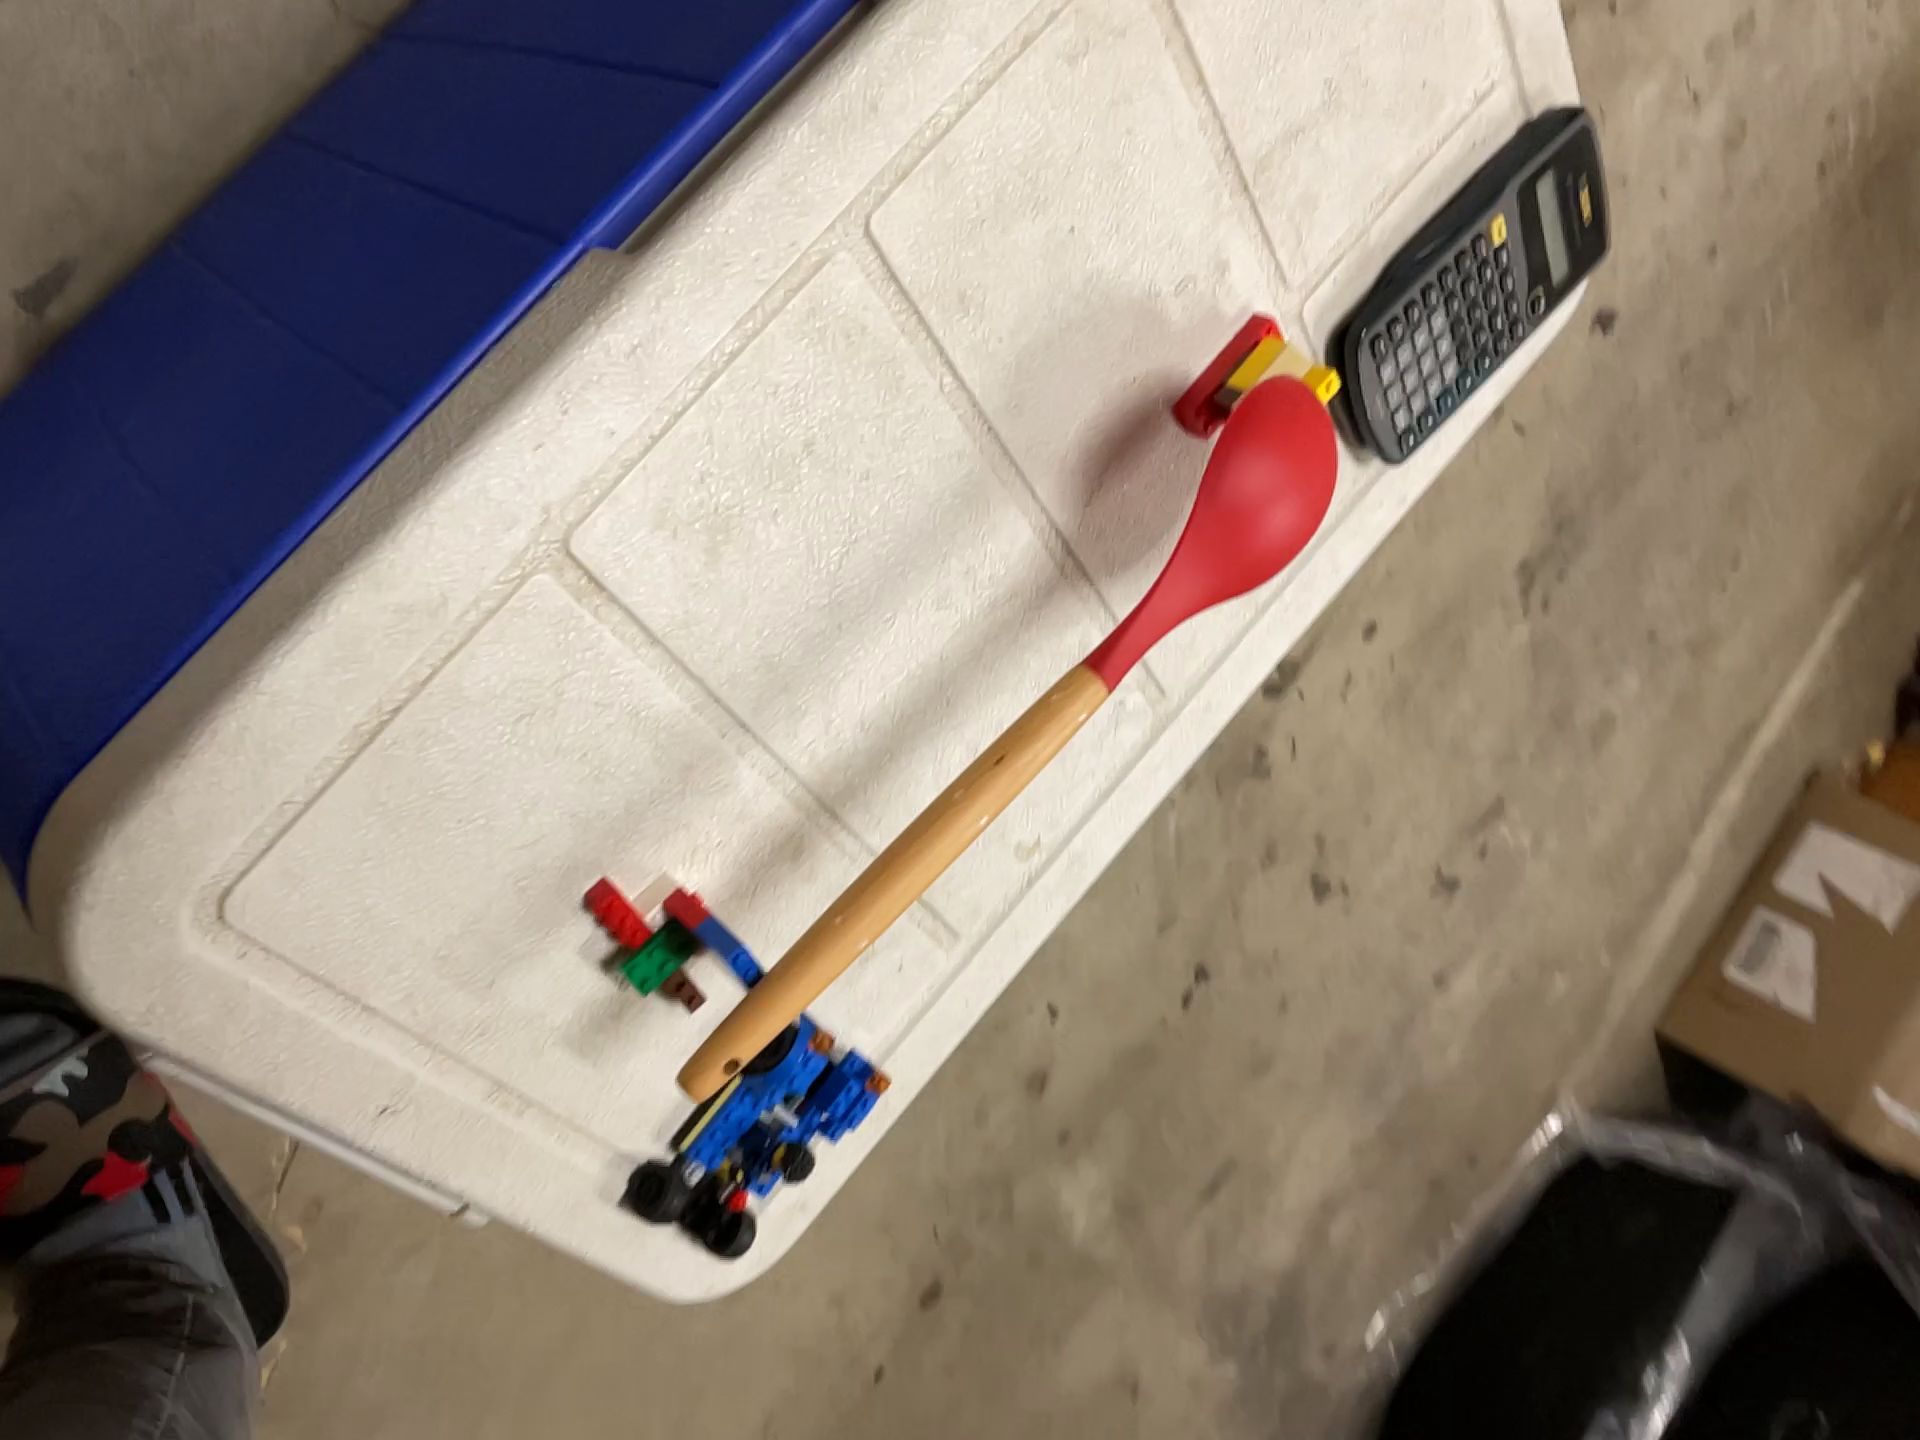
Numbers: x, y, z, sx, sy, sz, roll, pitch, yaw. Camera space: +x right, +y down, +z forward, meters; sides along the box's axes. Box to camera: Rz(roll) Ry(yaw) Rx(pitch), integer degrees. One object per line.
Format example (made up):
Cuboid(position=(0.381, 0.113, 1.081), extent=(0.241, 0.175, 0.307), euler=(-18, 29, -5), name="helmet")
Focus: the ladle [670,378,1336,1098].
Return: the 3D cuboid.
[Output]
Cuboid(position=(0.024, 0.003, 0.520), extent=(0.315, 0.031, 0.069), euler=(-45, 136, -13), name="ladle")
